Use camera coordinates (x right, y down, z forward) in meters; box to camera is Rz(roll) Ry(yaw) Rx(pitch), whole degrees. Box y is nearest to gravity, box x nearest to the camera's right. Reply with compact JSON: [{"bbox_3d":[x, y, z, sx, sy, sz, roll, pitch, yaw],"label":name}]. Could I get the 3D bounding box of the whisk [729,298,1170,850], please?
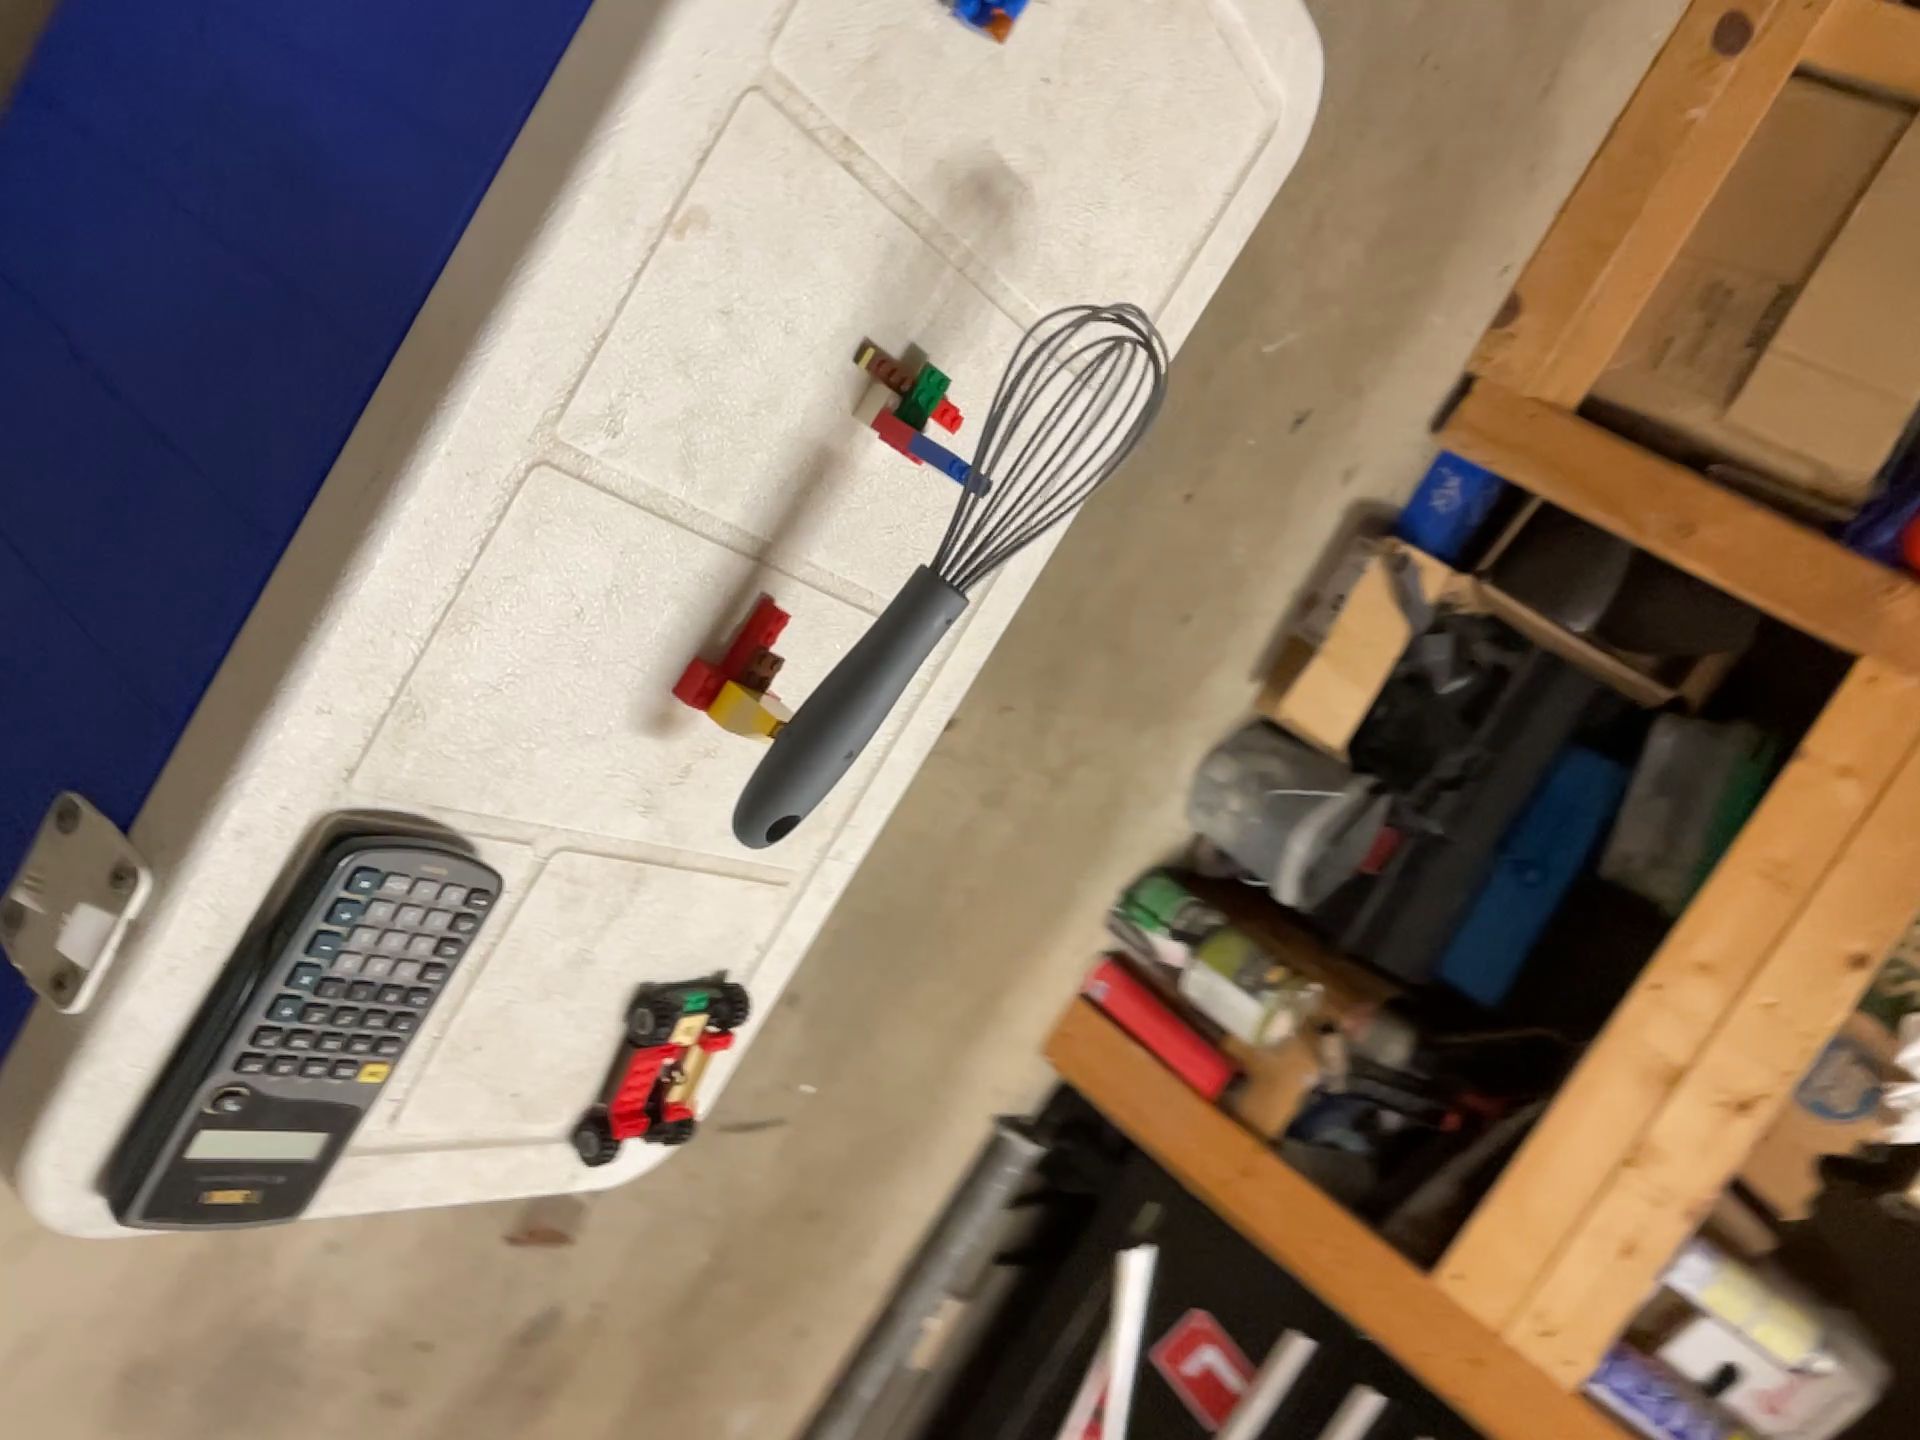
[{"bbox_3d":[-0.009,-0.049,0.570,0.239,0.055,0.055,-52,148,5],"label":"whisk"}]
